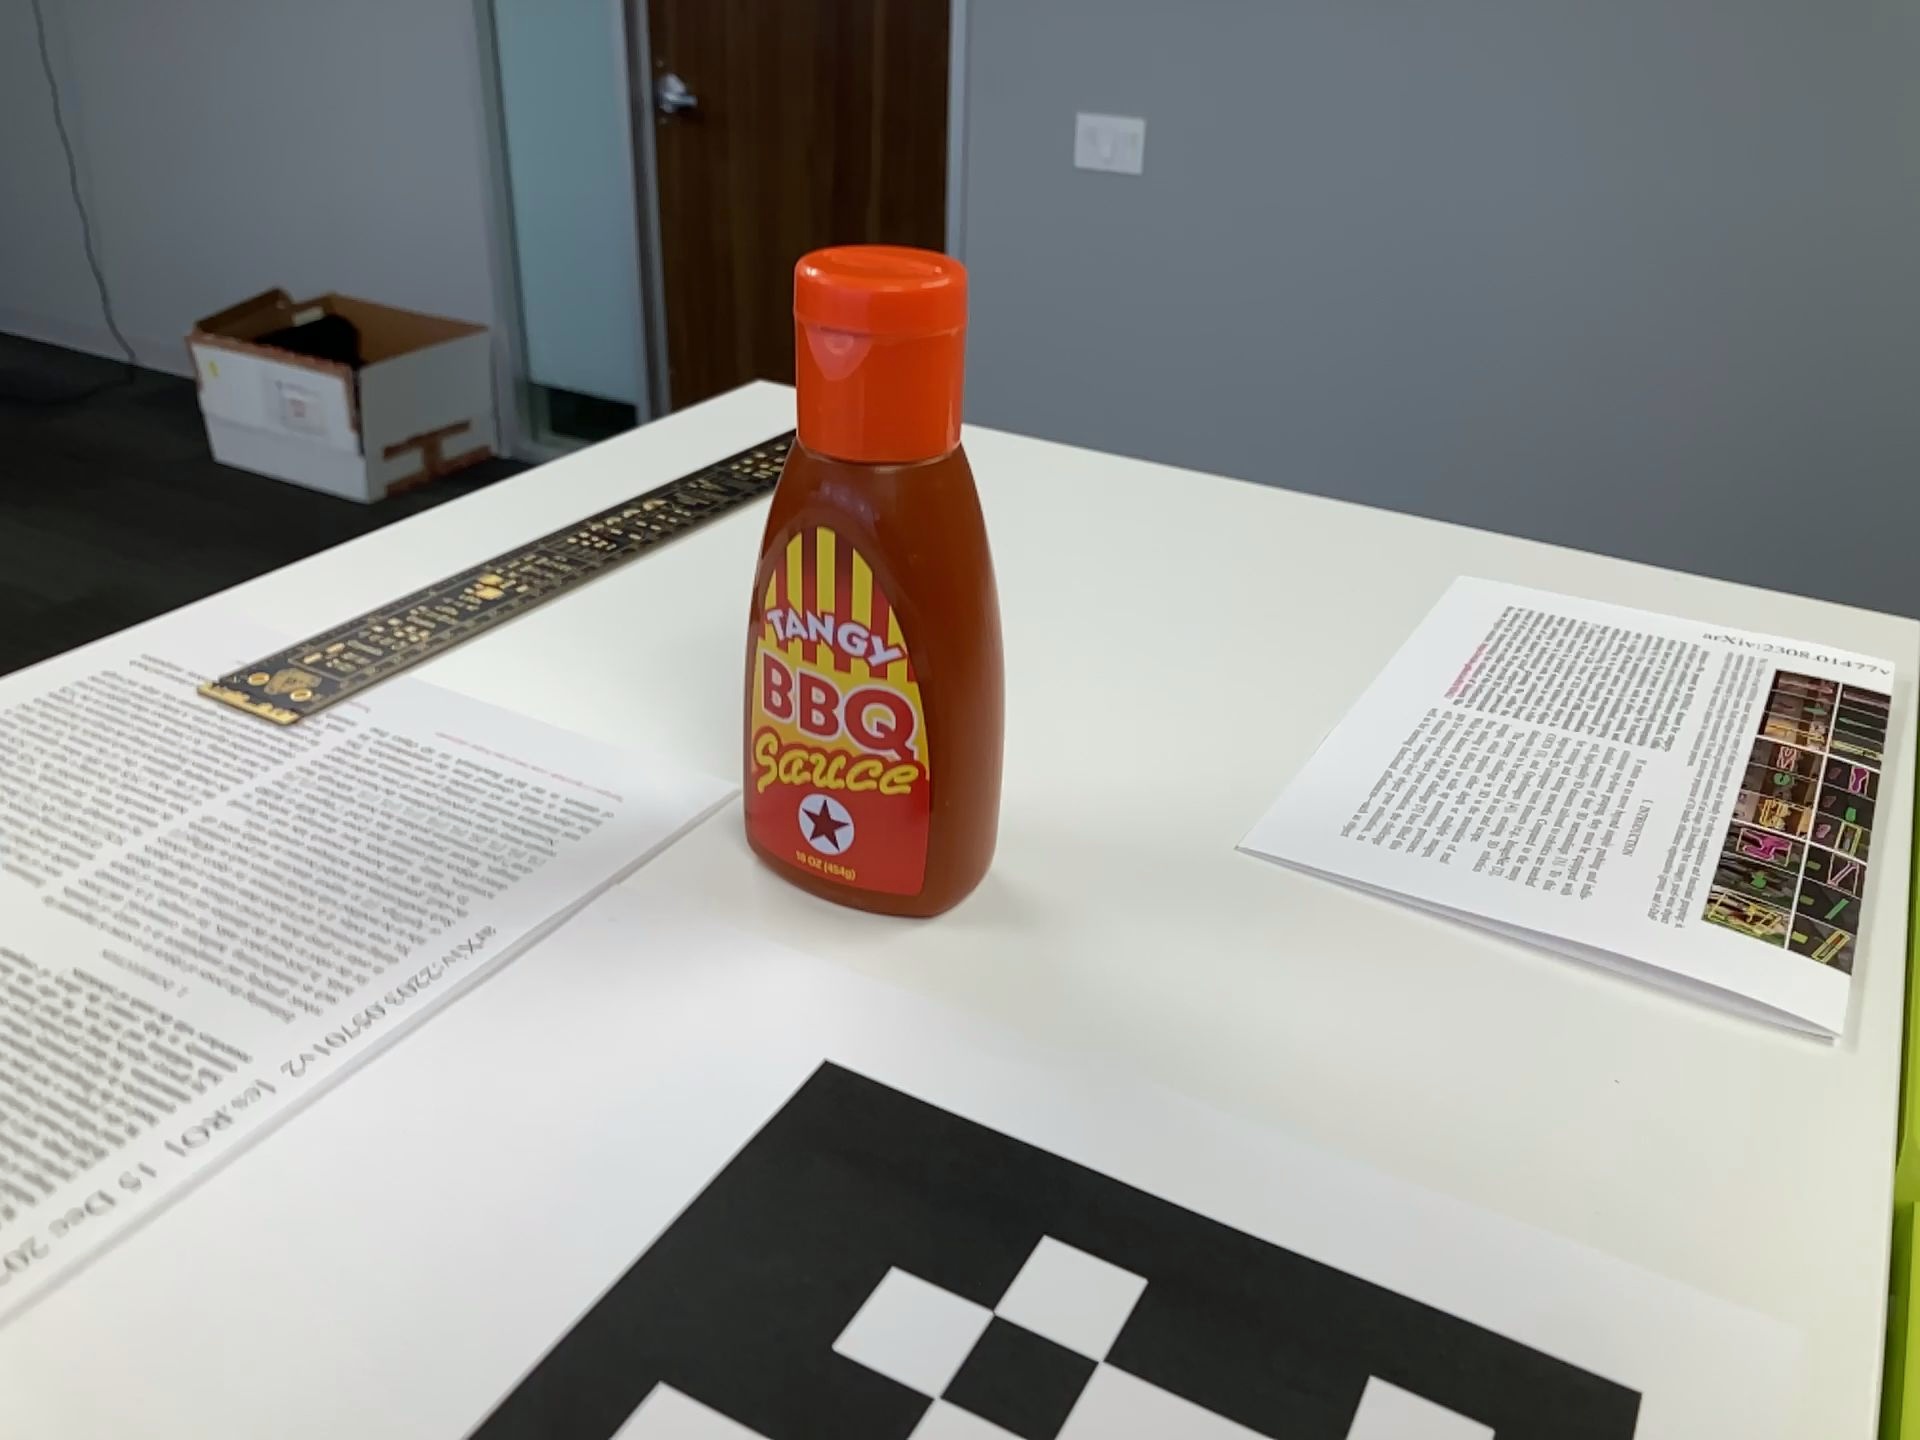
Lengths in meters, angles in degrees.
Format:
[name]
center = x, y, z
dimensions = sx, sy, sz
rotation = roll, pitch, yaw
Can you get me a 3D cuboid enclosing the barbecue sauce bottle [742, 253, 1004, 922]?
[barbecue sauce bottle]
center = -0.020, -0.029, 0.365
dimensions = 0.065, 0.148, 0.043
rotation = 18, 31, 25
